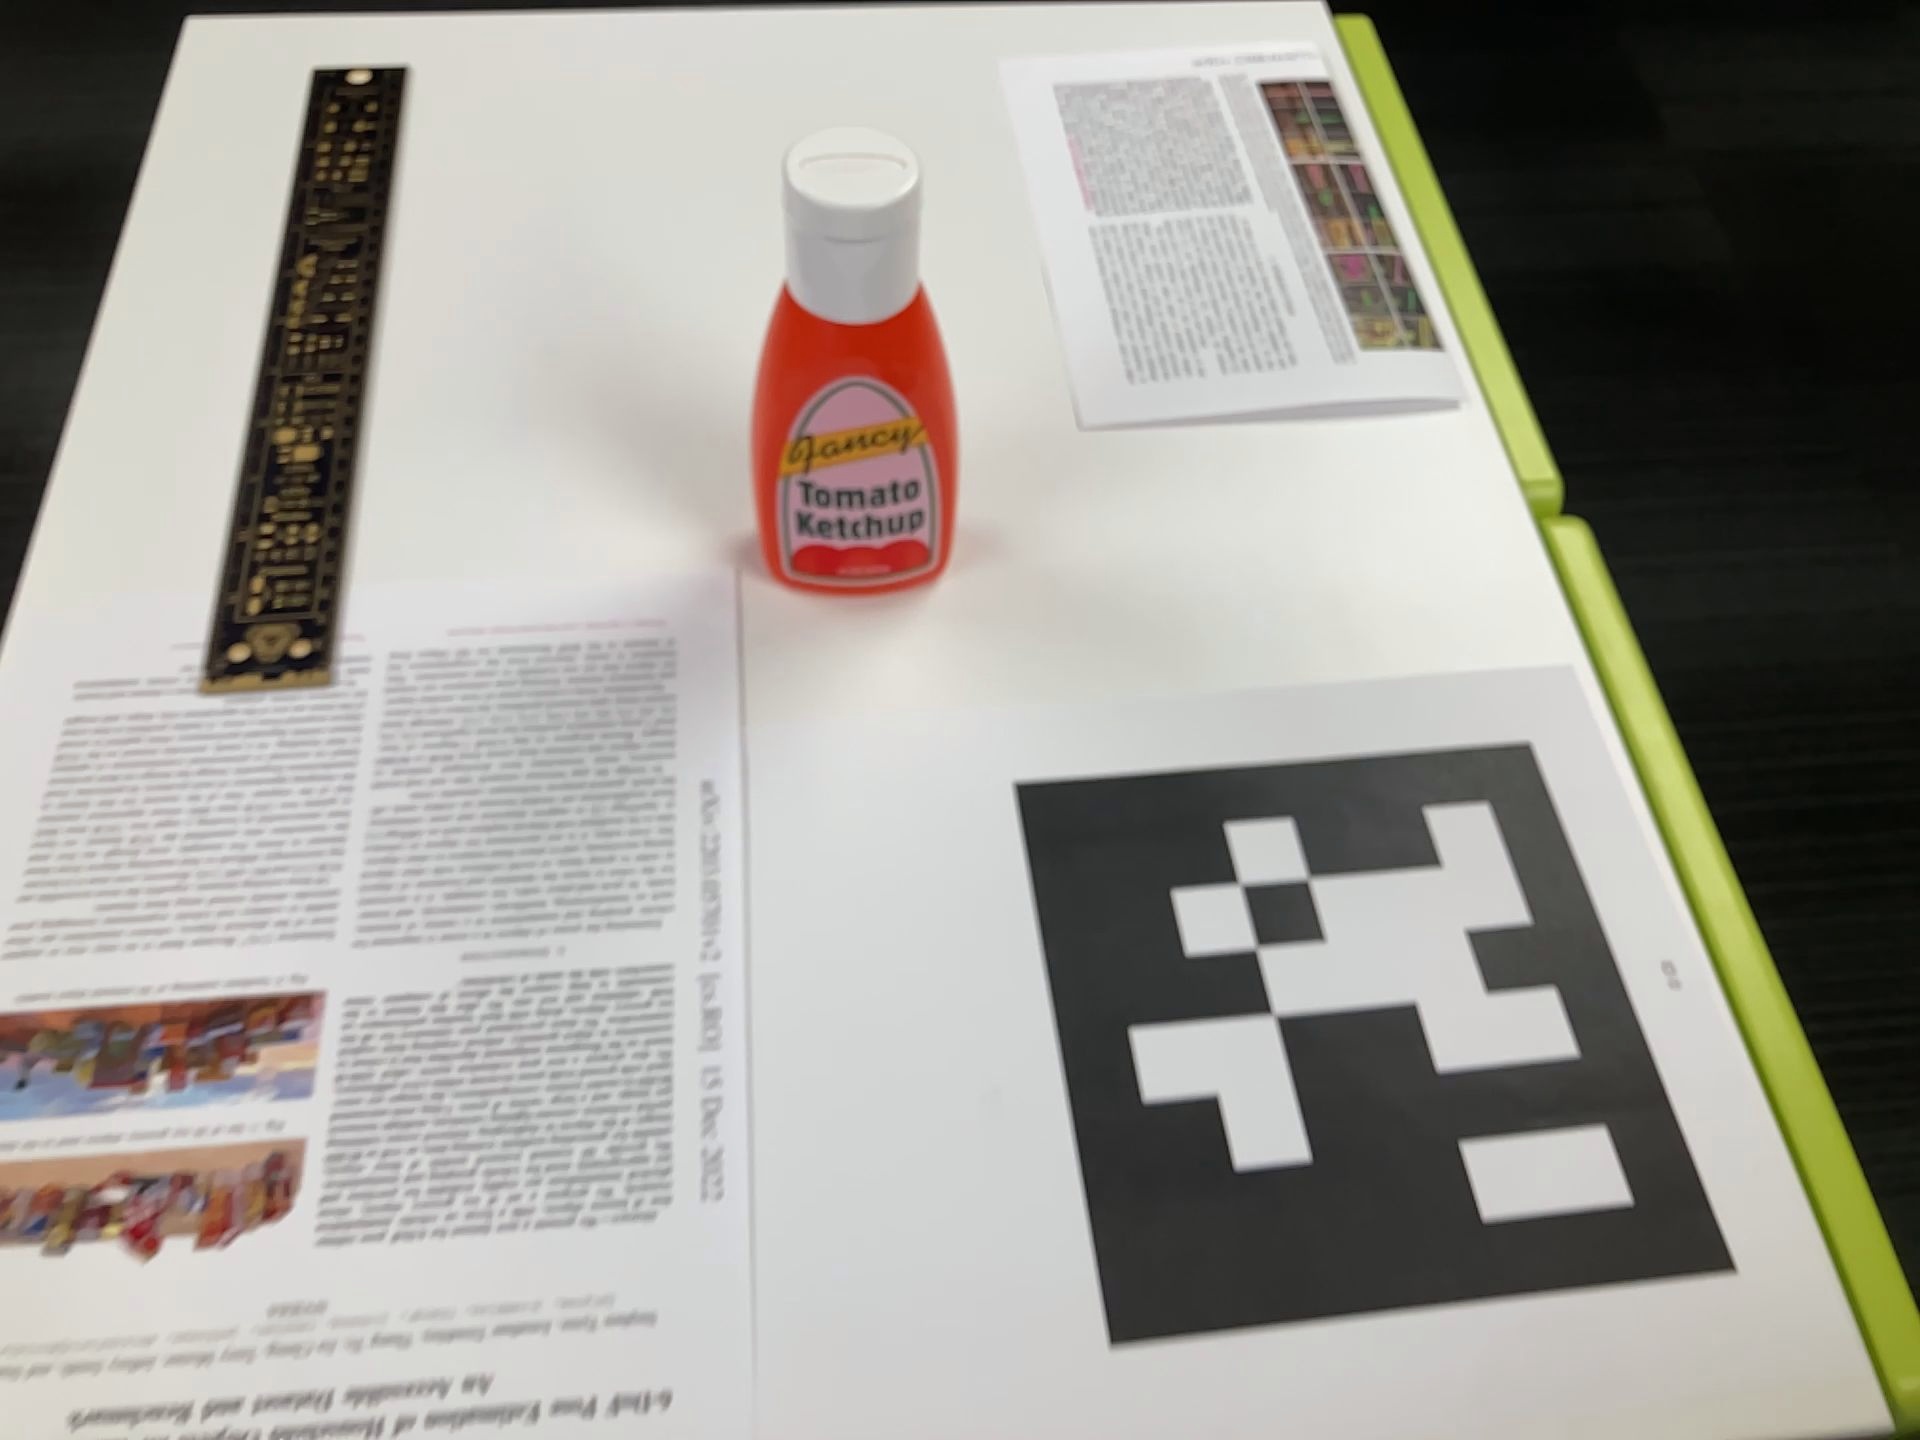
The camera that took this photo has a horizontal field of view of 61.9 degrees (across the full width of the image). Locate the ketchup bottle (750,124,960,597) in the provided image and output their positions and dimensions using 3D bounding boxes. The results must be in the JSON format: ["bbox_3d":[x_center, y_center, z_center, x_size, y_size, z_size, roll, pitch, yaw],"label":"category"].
[{"bbox_3d":[-0.031,-0.099,0.469,0.065,0.149,0.043,-3,54,-5],"label":"ketchup bottle"}]
